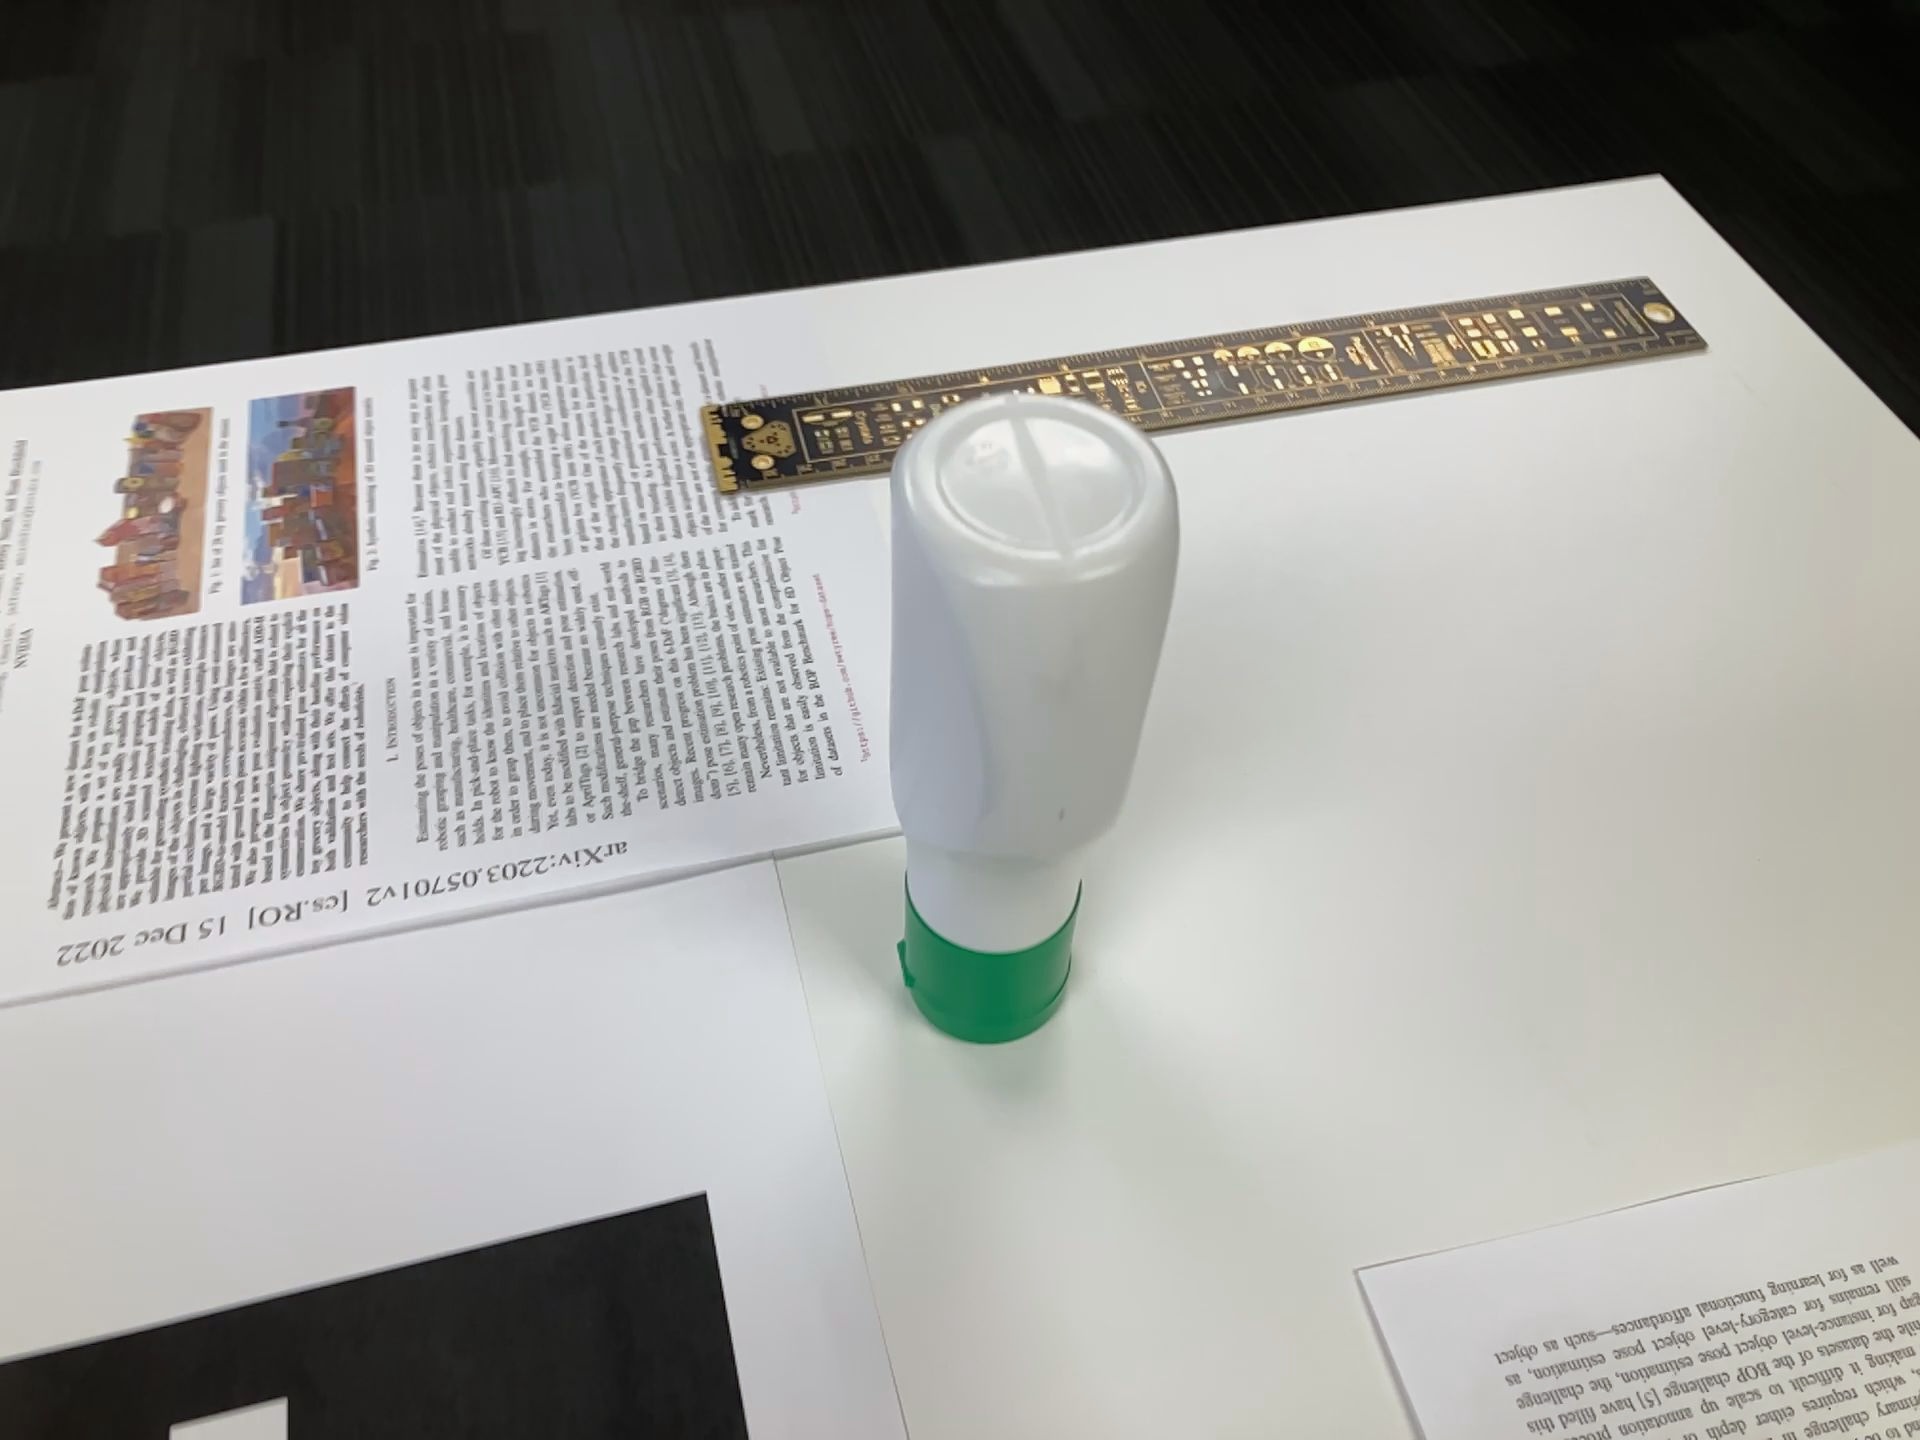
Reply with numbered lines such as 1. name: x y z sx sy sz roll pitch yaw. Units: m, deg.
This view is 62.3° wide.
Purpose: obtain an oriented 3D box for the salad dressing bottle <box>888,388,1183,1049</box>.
1. salad dressing bottle: 0.009 0.010 0.296 0.044 0.147 0.064 -8 51 -10
